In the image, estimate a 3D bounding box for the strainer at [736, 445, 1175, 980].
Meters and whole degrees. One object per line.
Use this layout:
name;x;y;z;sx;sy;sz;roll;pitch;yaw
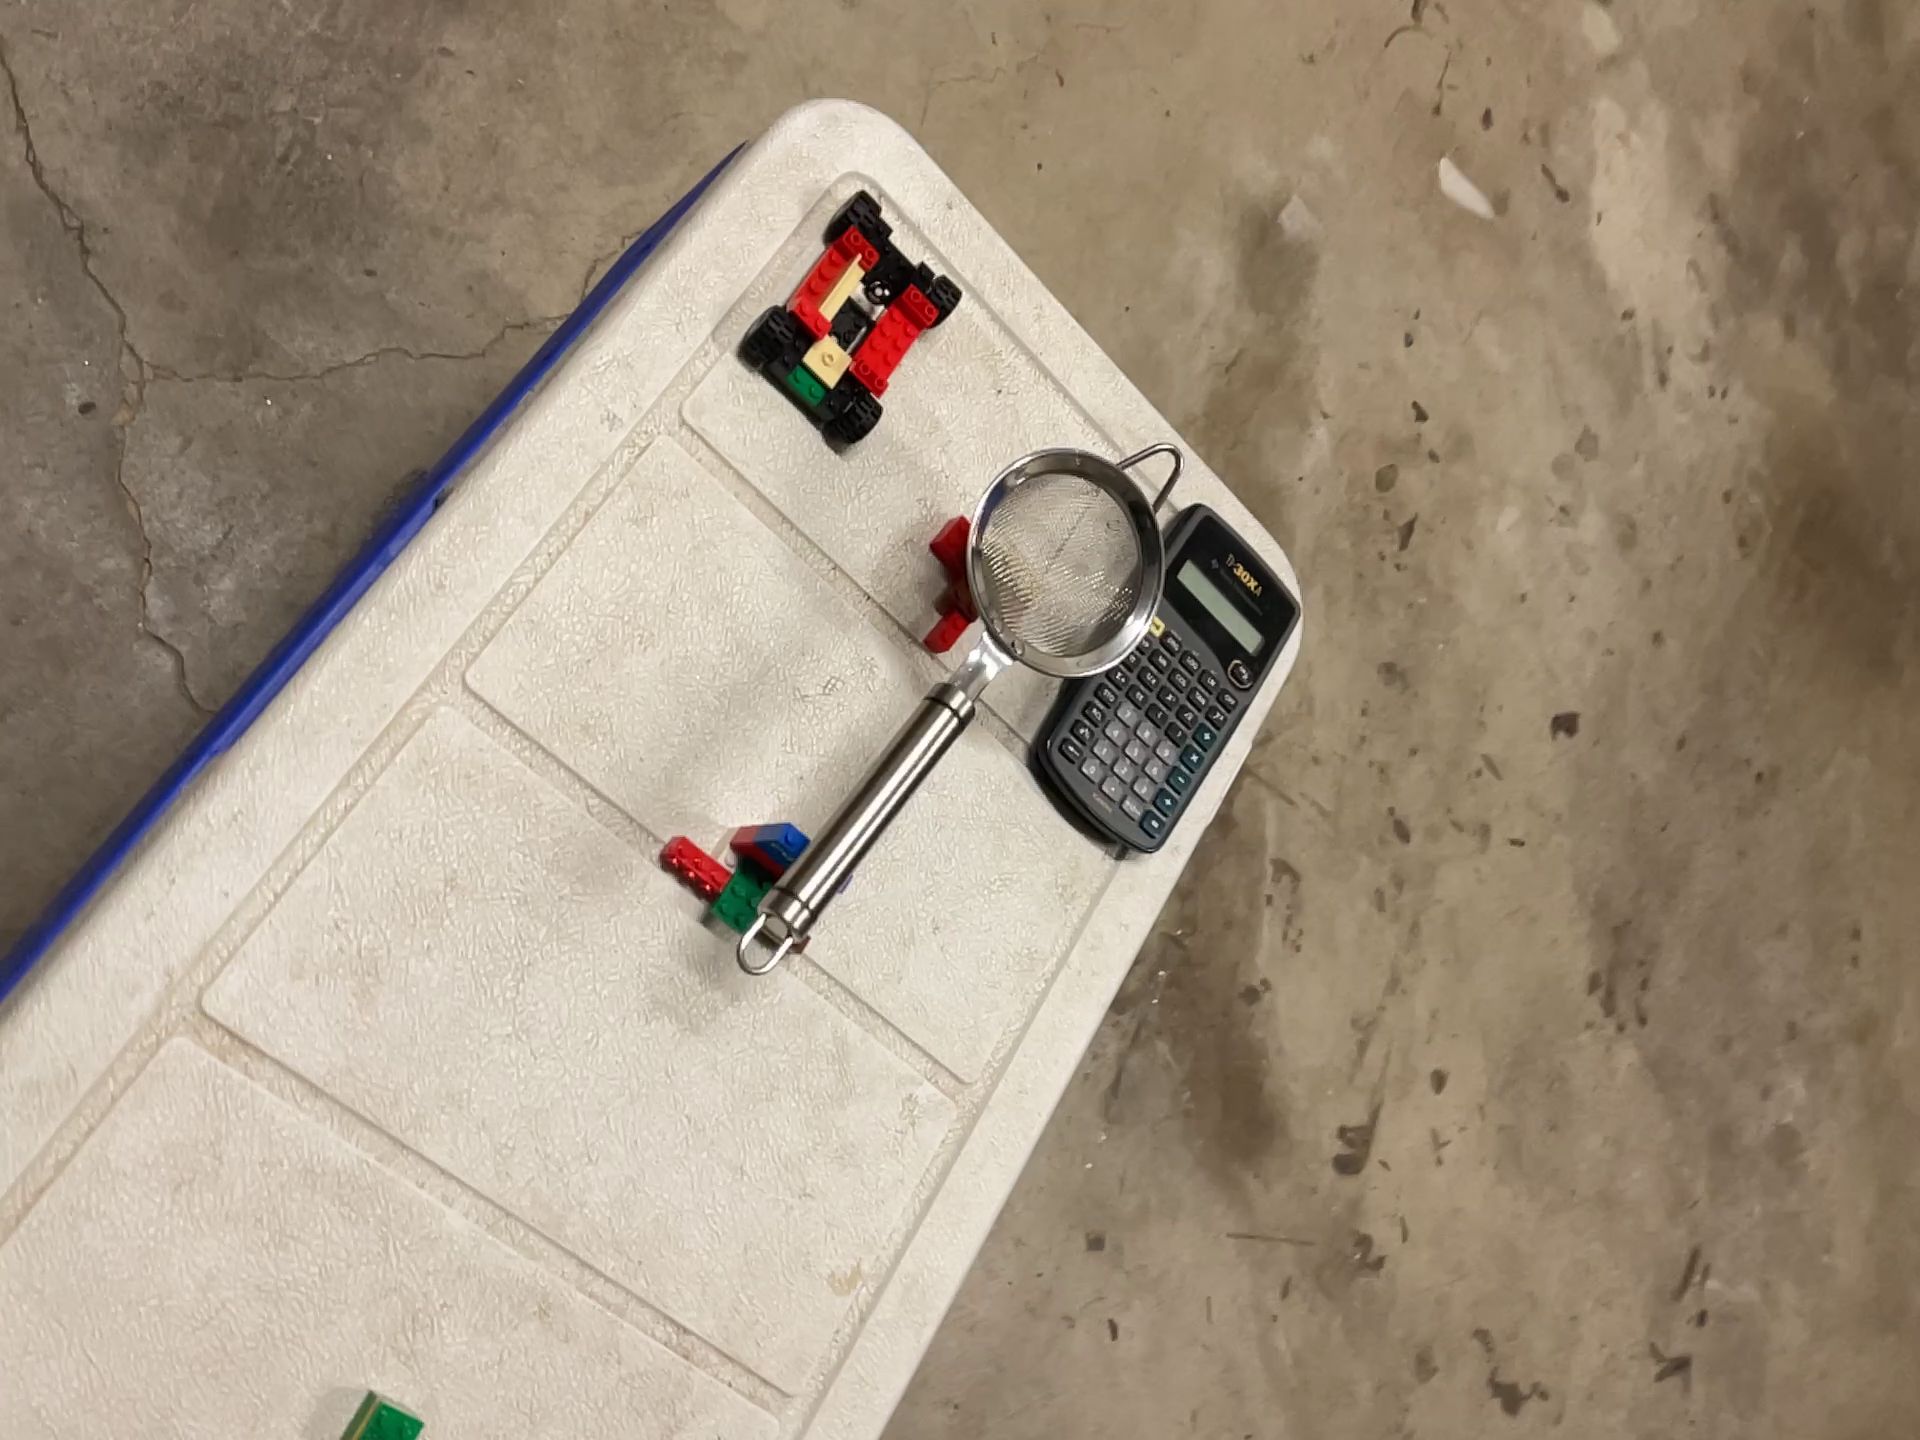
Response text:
strainer;-0.003;-0.009;0.586;0.086;0.050;0.259;47;63;-19
